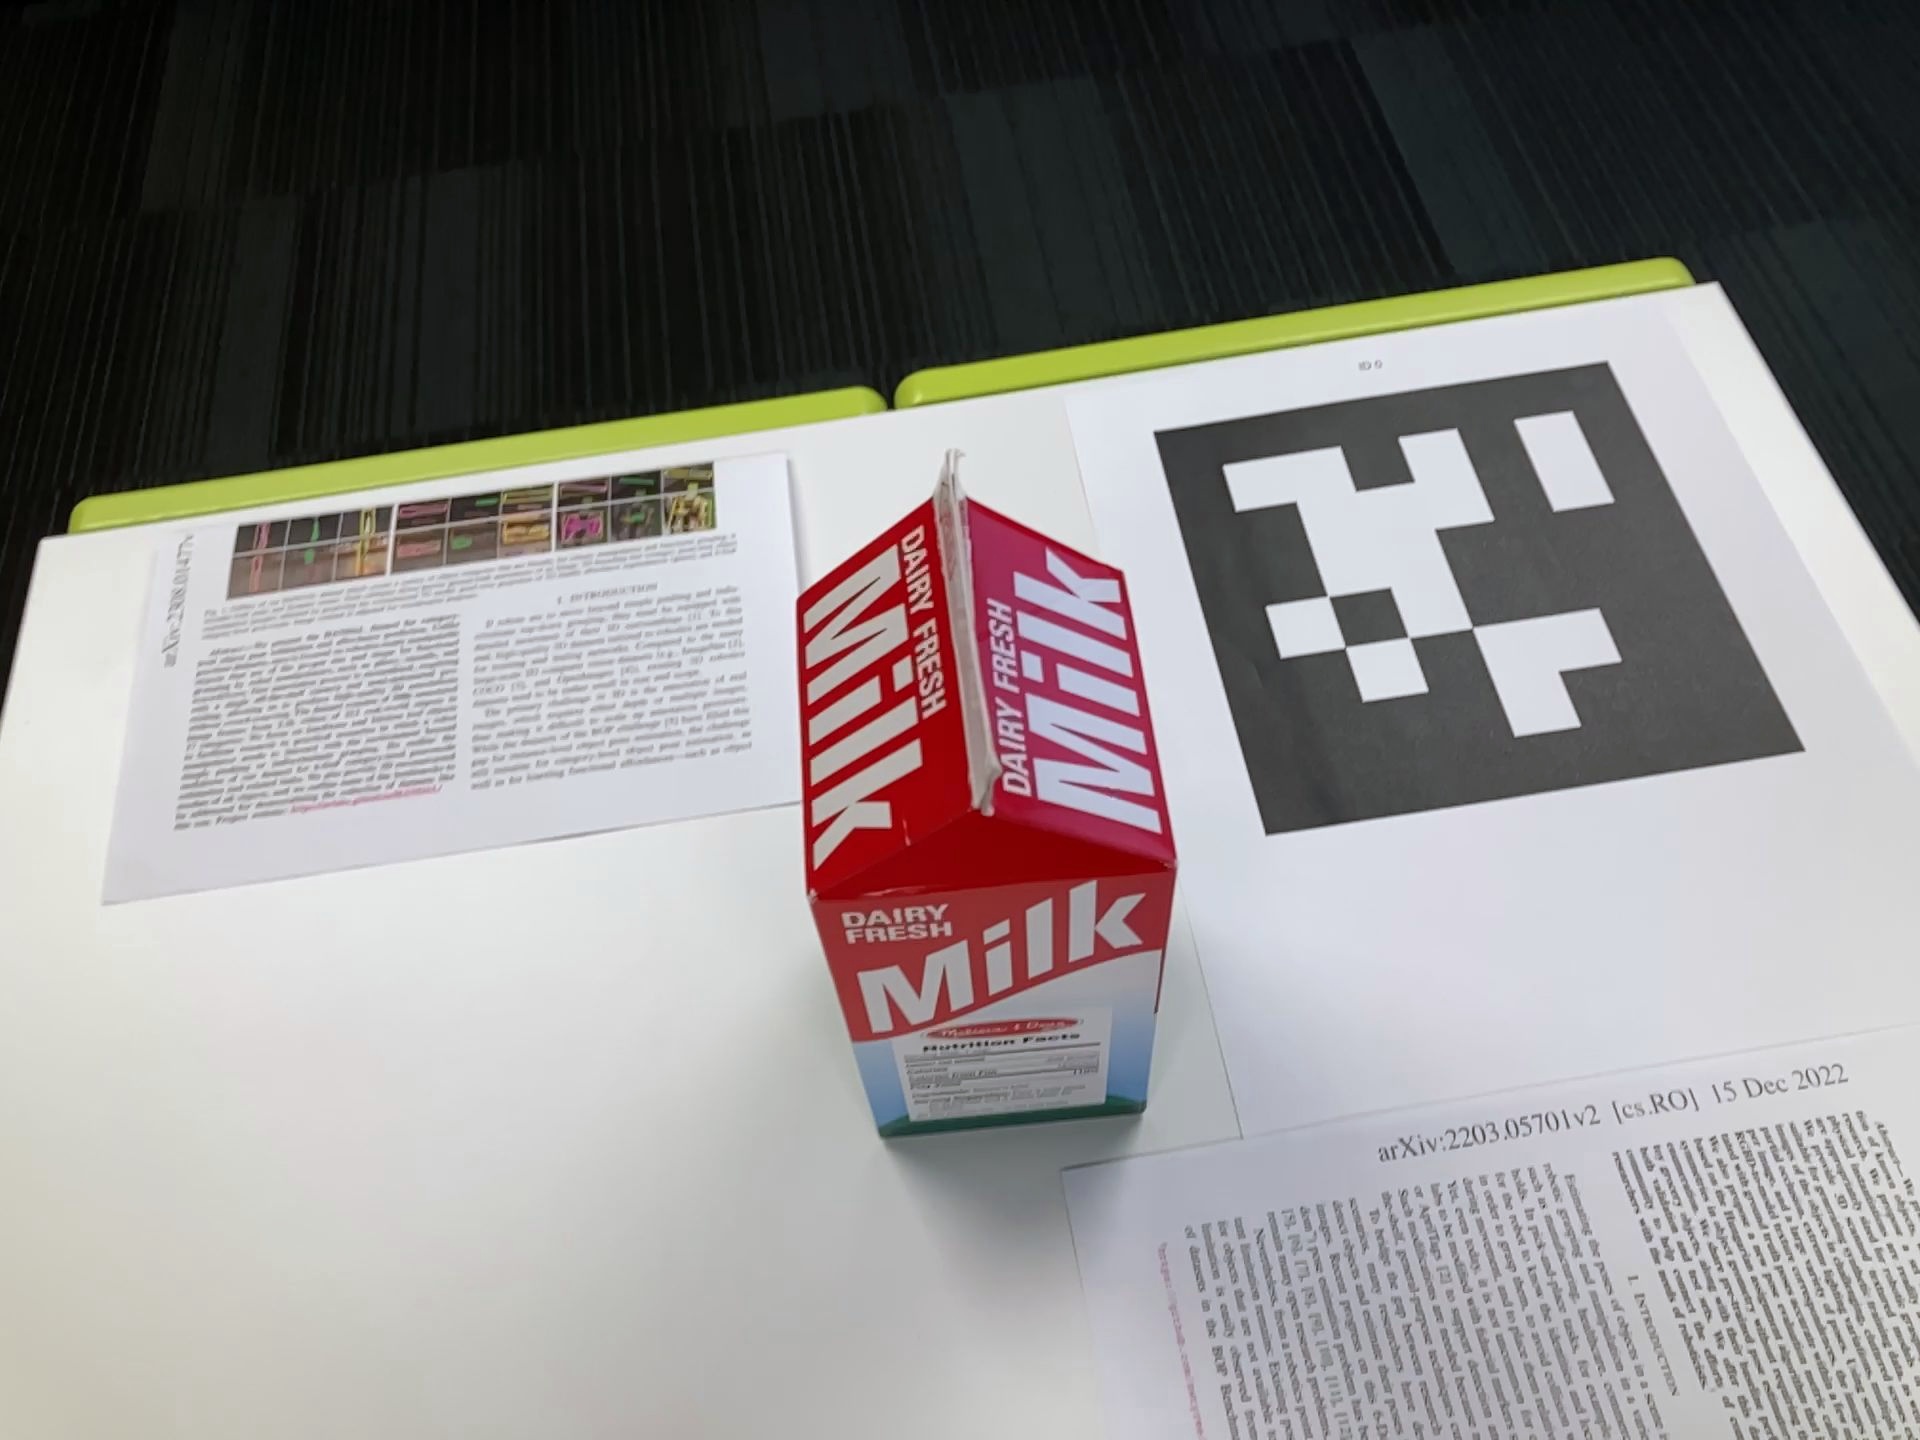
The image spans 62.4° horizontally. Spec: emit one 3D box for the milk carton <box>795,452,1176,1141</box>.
[{"bbox_3d":[0.006,0.029,0.358,0.073,0.190,0.072,-6,59,1],"label":"milk carton"}]
